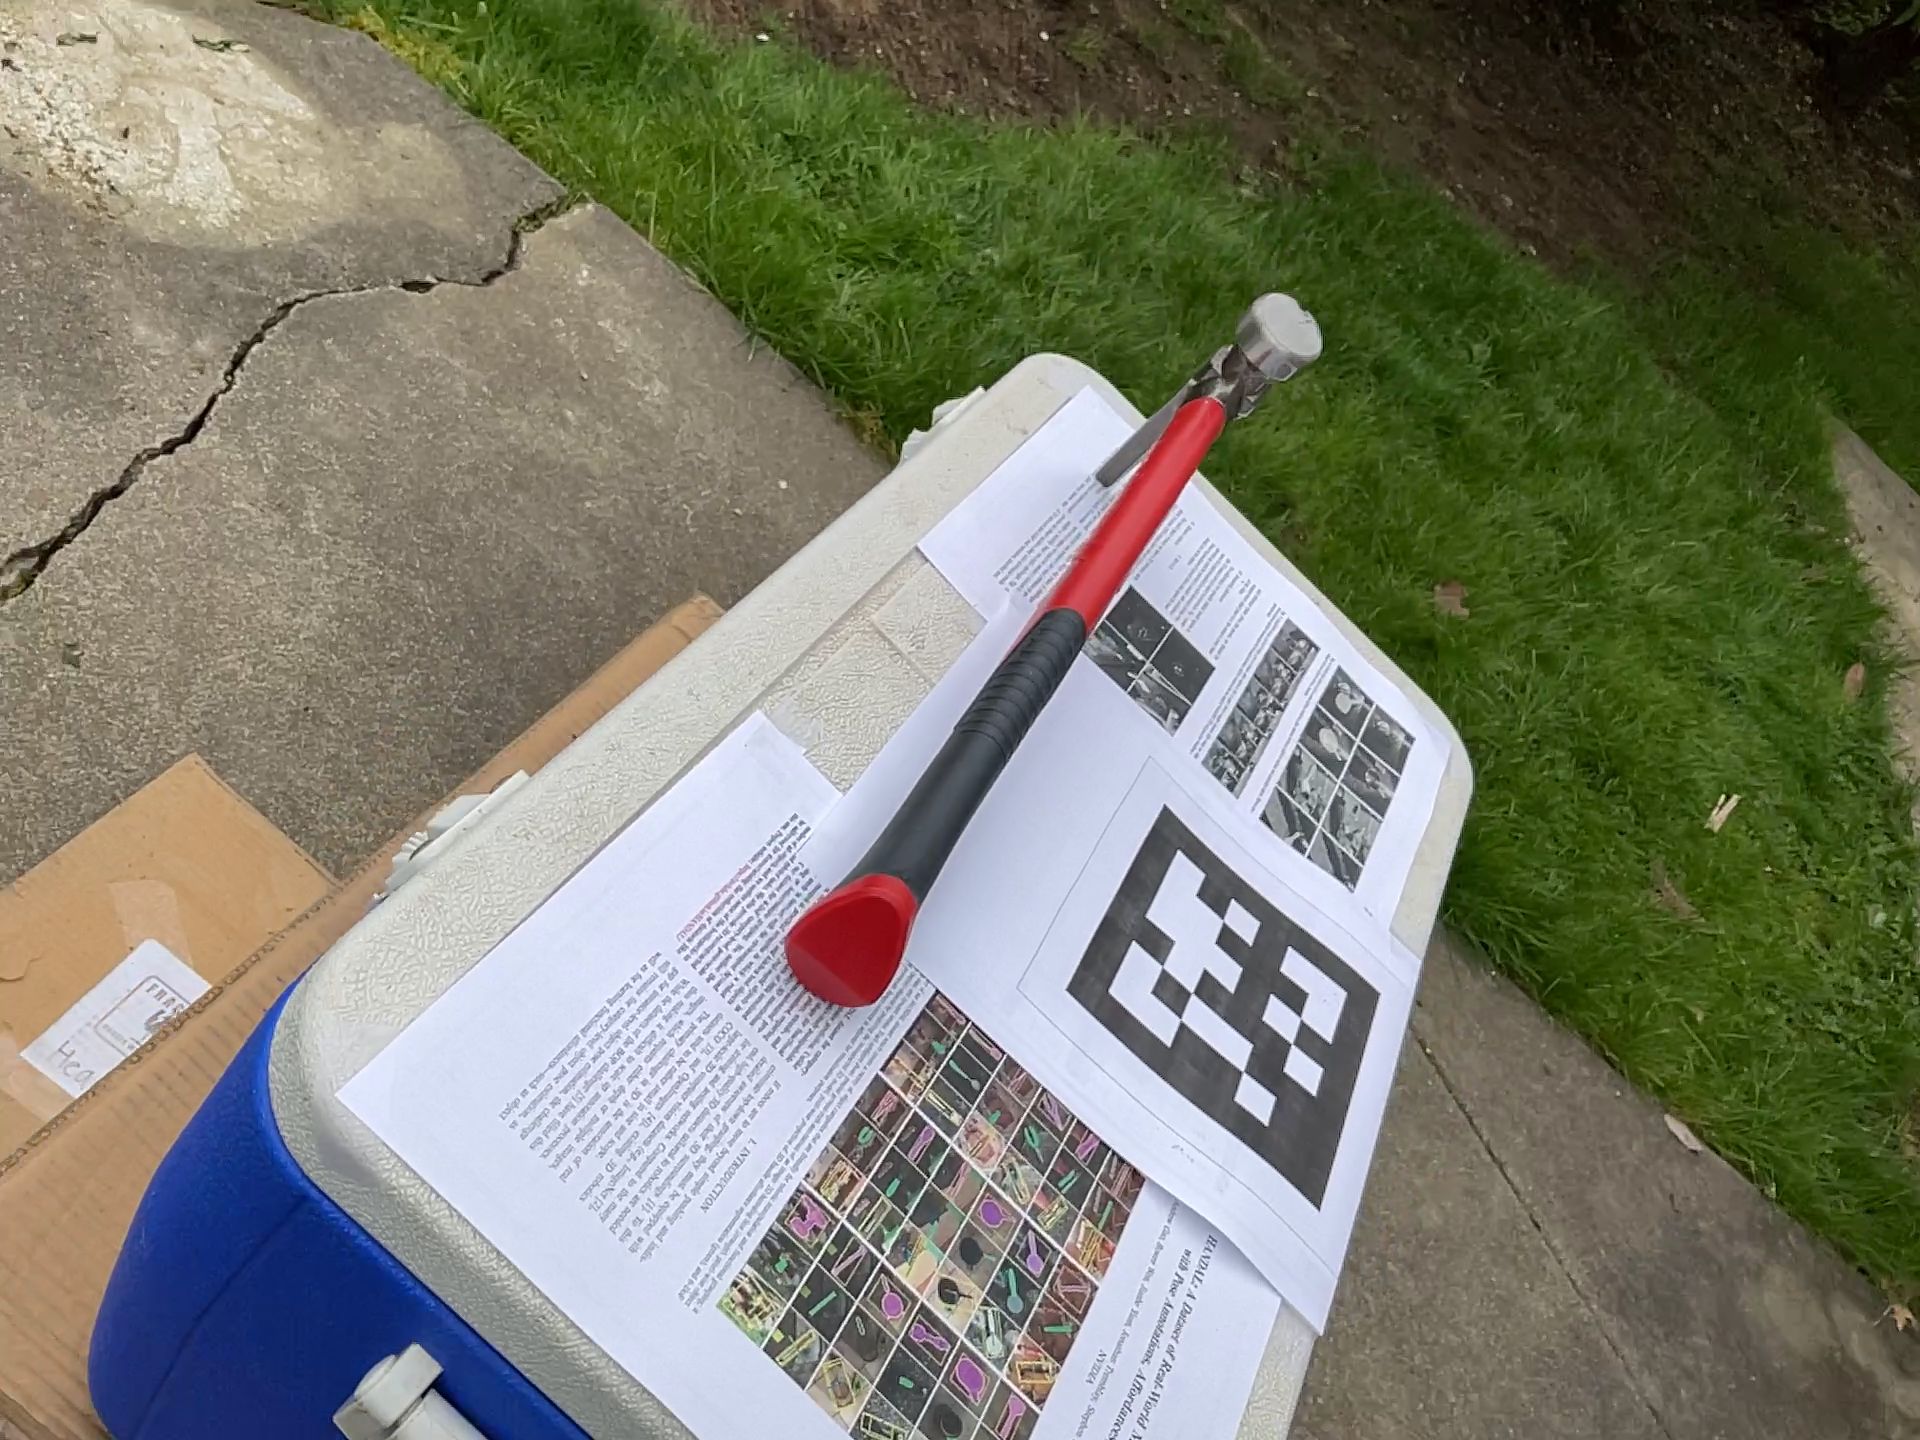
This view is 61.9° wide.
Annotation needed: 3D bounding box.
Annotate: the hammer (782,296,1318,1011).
[{"bbox_3d":[0.034,-0.032,0.648,0.038,0.143,0.386,40,50,-6],"label":"hammer"}]
